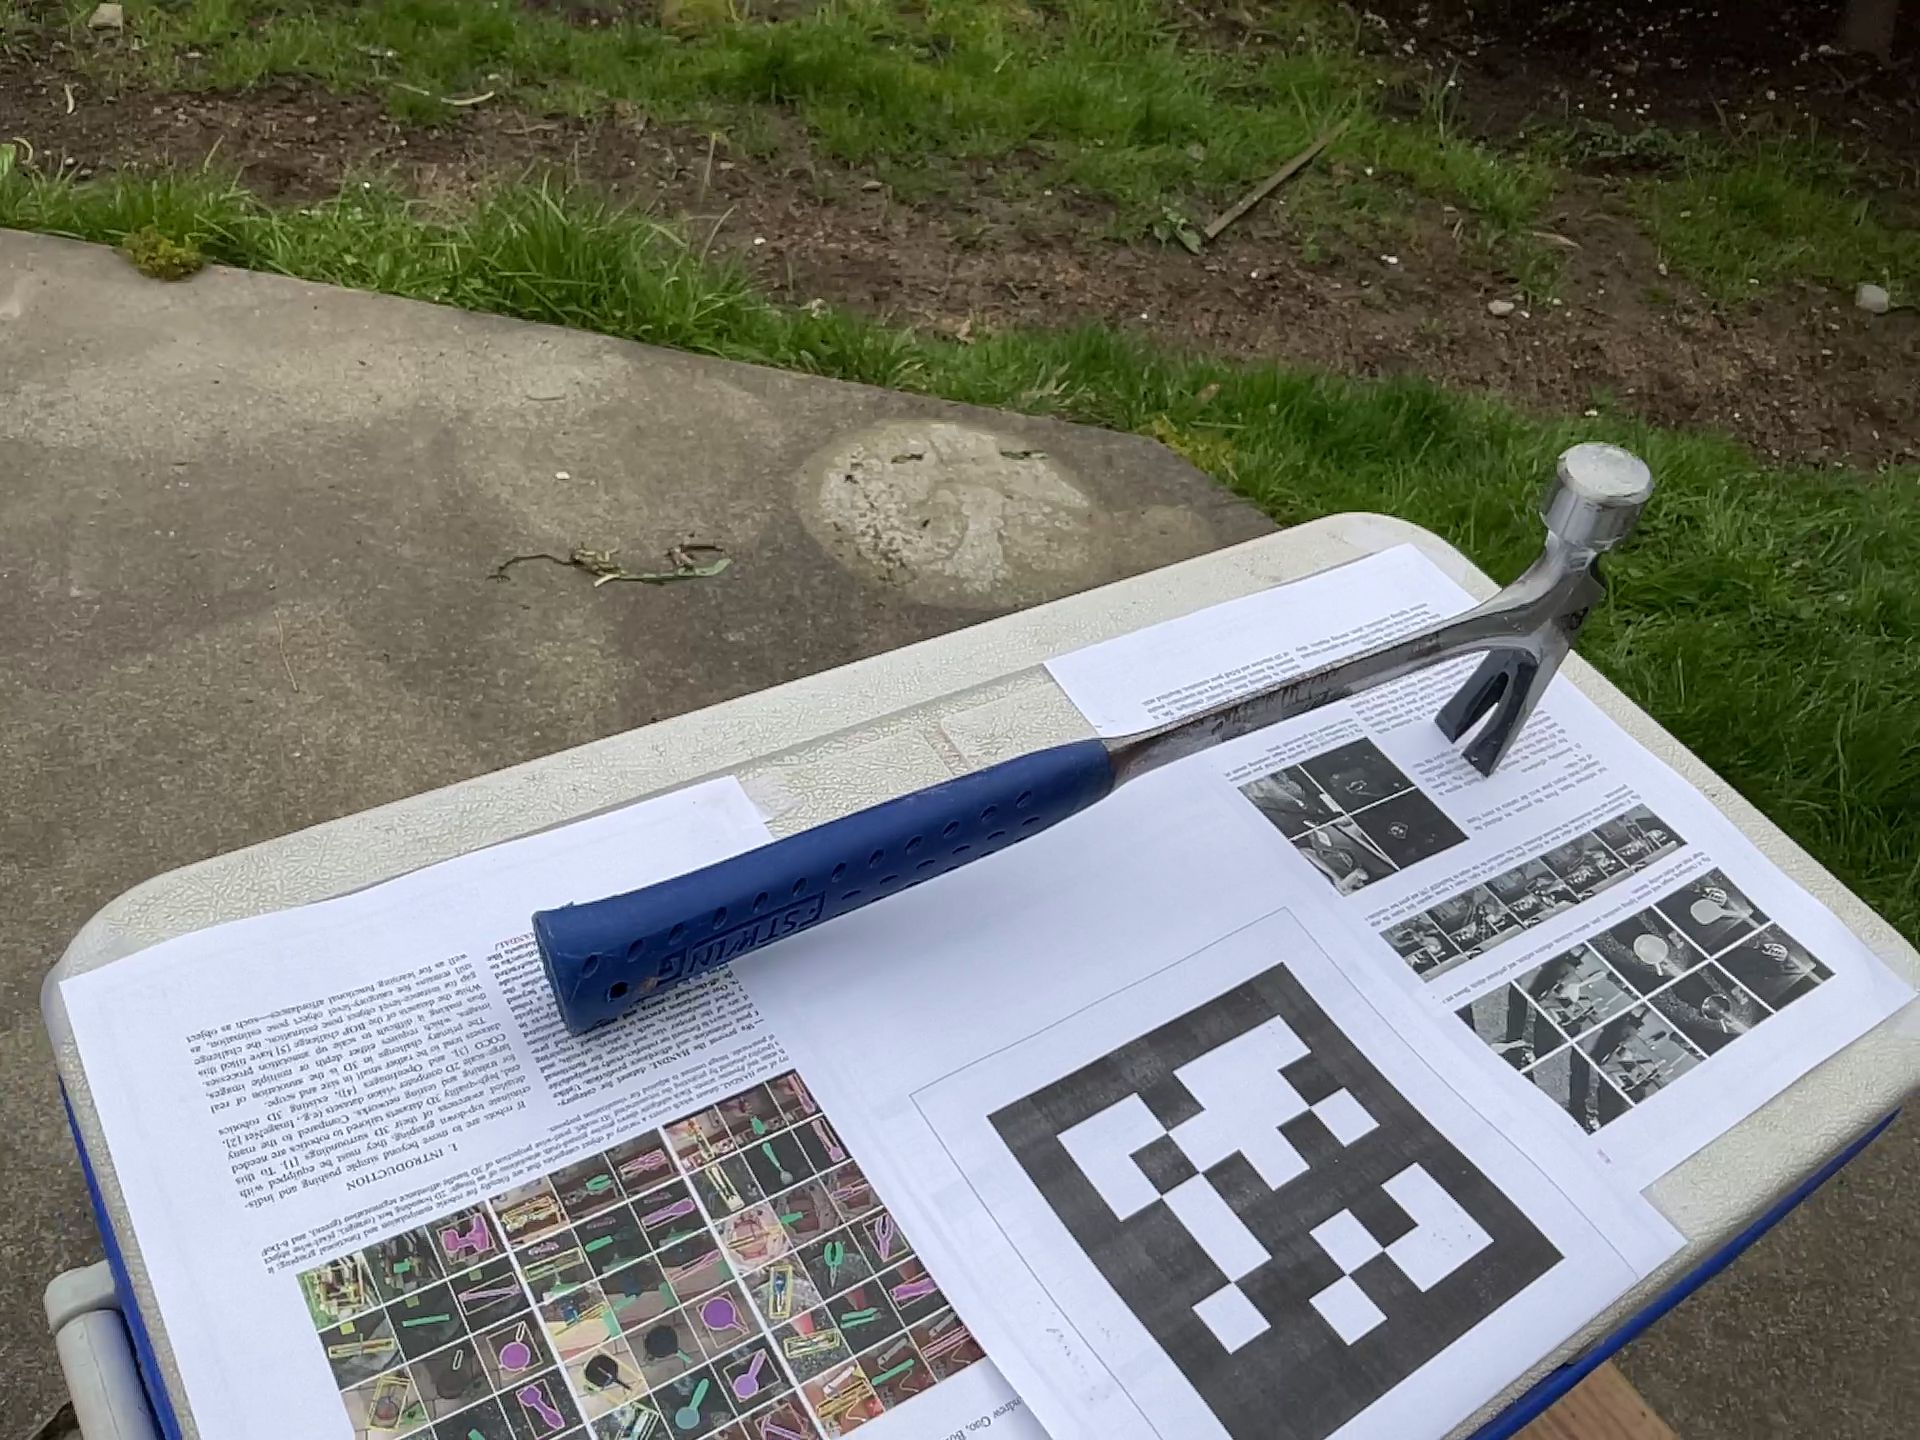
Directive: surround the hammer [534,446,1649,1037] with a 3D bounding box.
[{"bbox_3d":[0.058,0.018,0.550,0.405,0.144,0.035,-19,52,-20],"label":"hammer"}]
